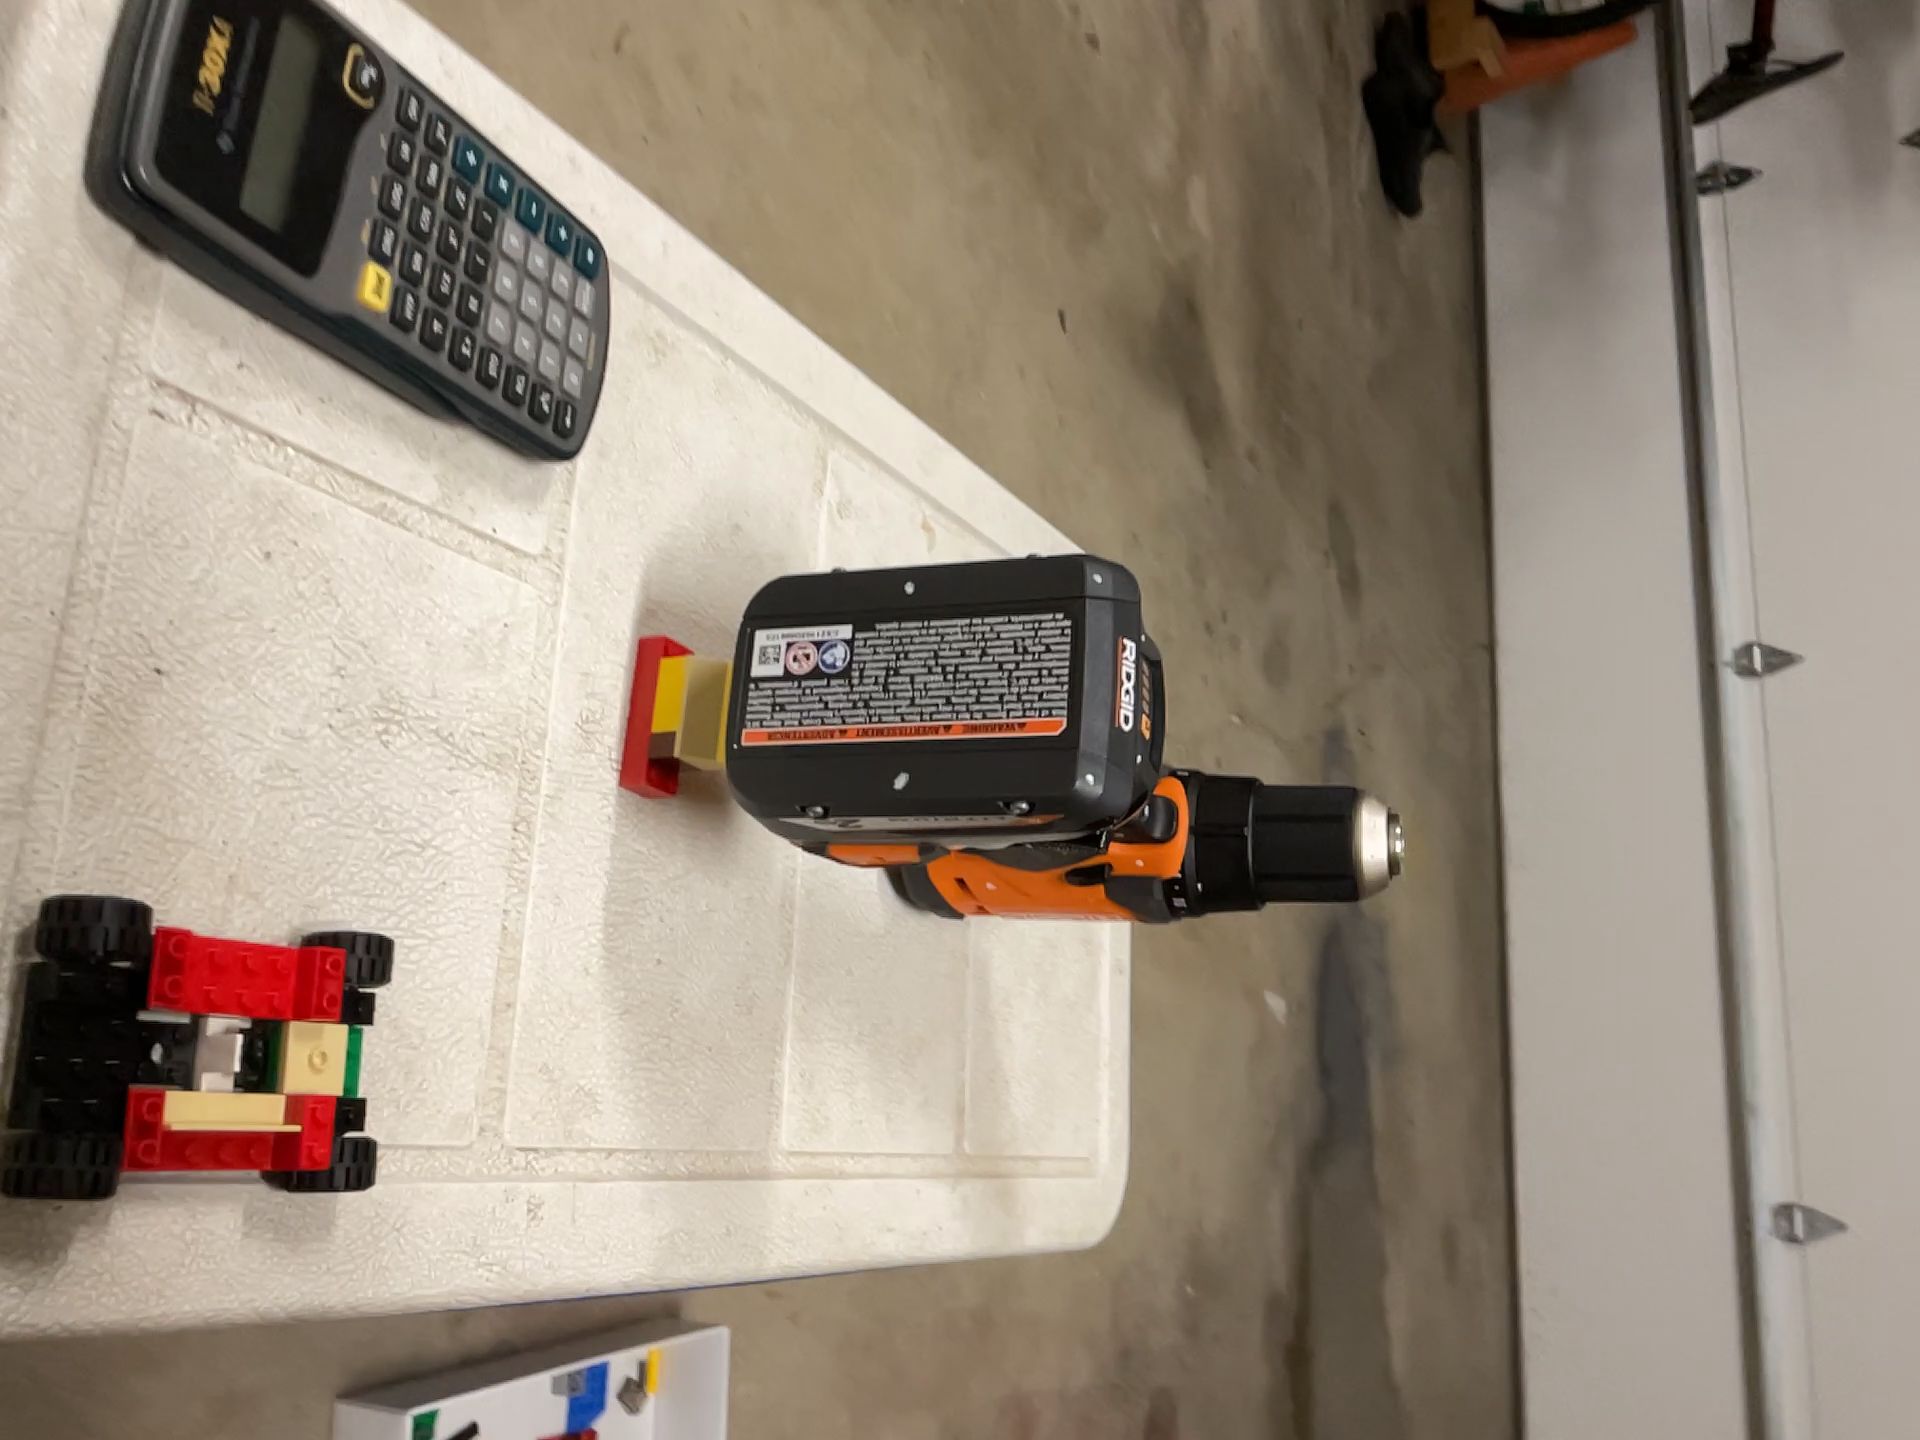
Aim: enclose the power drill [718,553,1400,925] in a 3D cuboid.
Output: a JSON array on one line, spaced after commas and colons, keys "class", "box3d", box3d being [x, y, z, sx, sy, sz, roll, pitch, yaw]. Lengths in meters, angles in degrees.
[{"class": "power drill", "box3d": [0.043, 0.022, 0.528, 0.226, 0.185, 0.084, 44, 48, -64]}]
